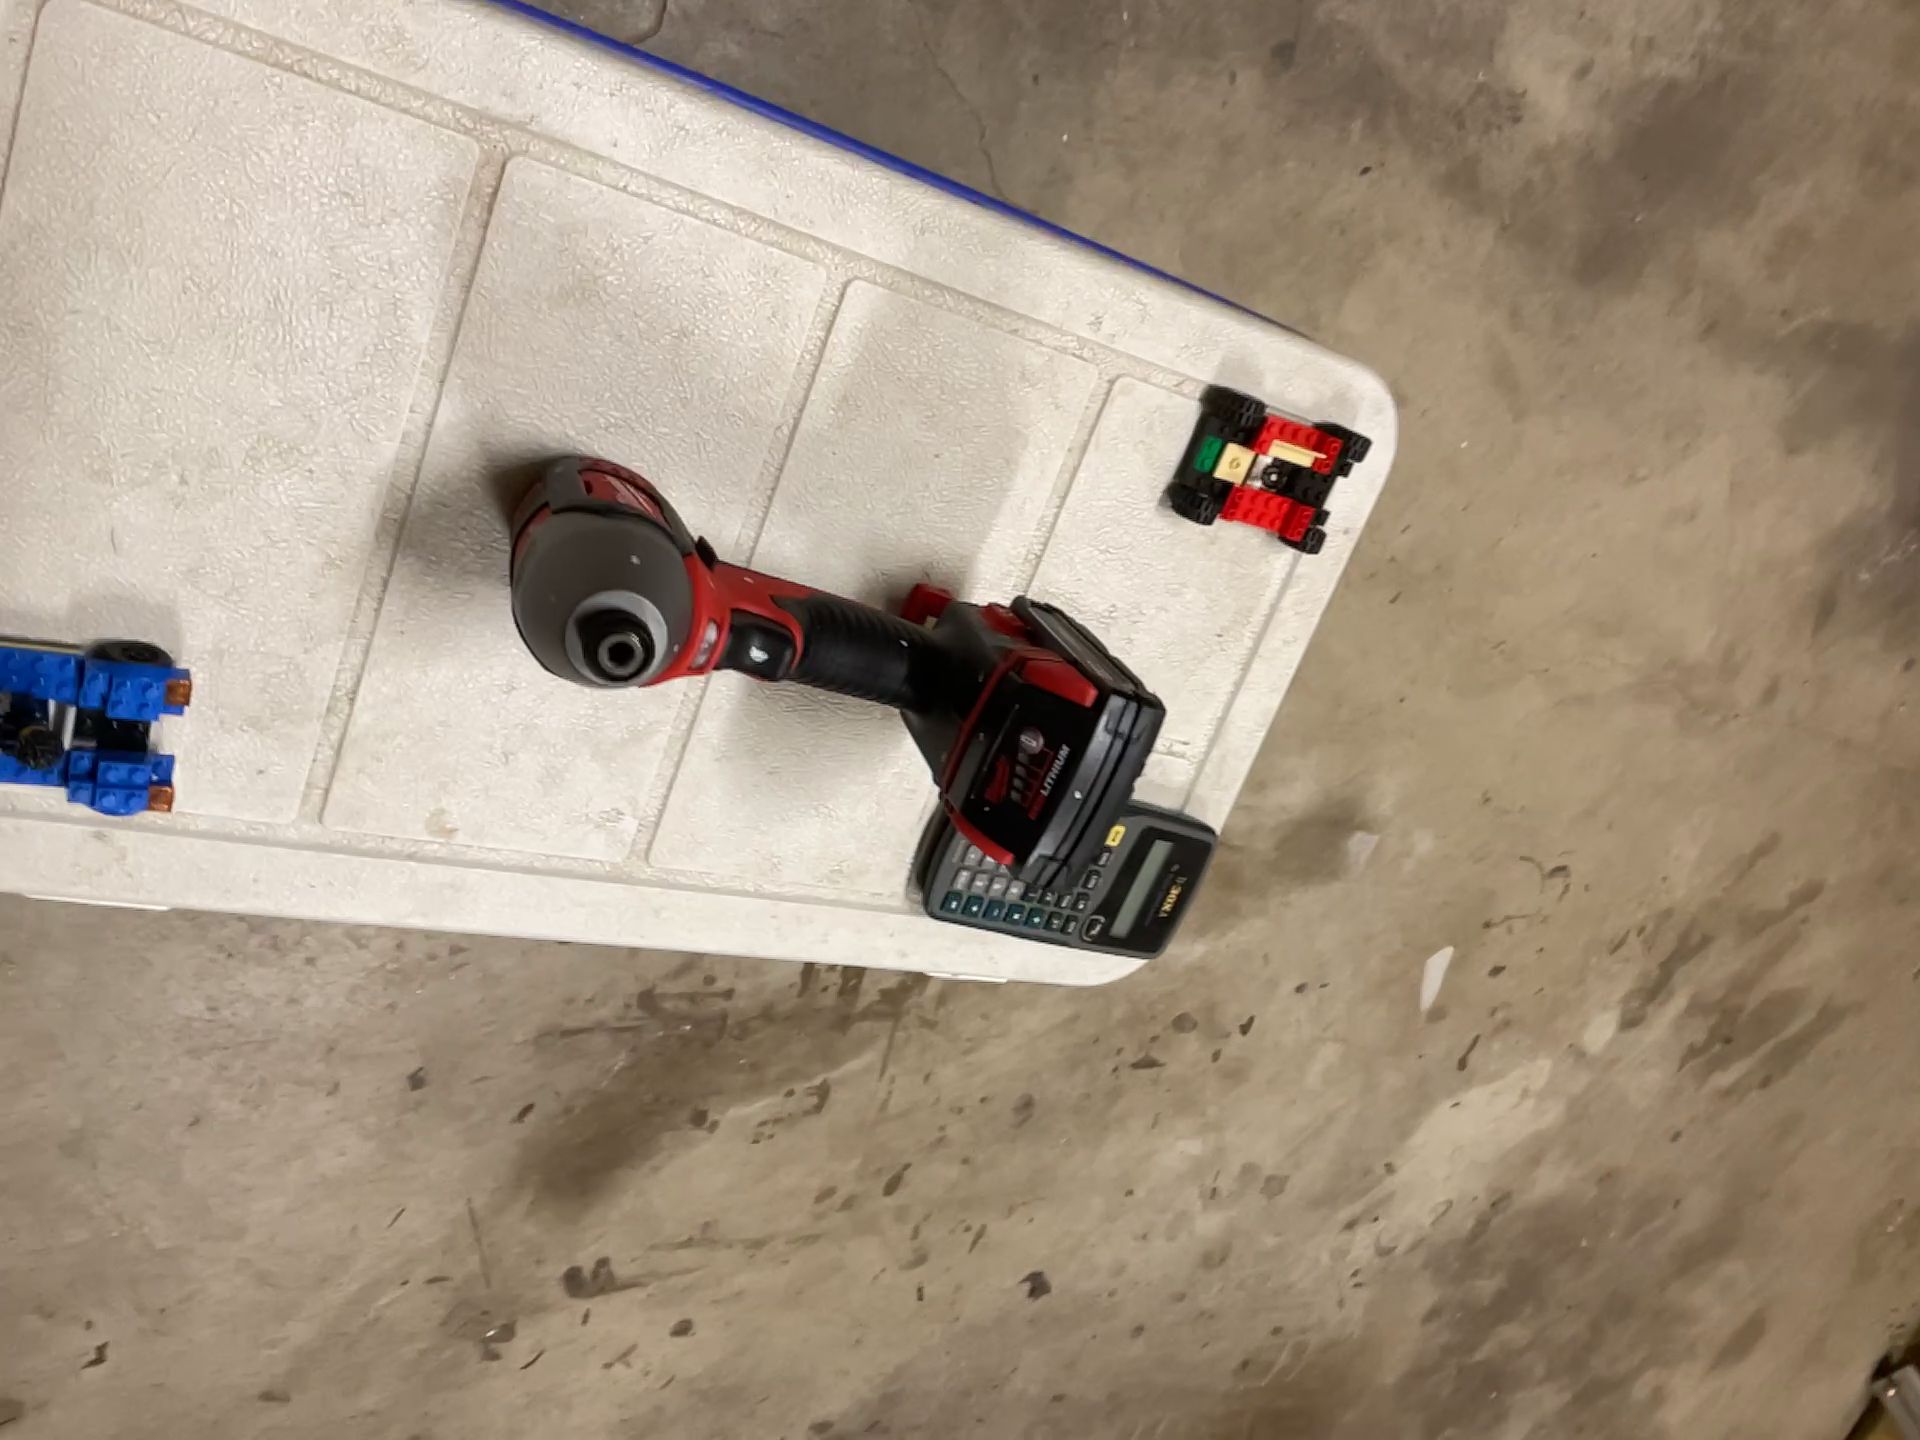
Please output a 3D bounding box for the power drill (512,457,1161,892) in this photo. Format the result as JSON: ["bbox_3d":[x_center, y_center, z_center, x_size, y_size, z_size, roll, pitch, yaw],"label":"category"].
[{"bbox_3d":[-0.049,-0.020,0.563,0.219,0.143,0.078,20,105,-22],"label":"power drill"}]
